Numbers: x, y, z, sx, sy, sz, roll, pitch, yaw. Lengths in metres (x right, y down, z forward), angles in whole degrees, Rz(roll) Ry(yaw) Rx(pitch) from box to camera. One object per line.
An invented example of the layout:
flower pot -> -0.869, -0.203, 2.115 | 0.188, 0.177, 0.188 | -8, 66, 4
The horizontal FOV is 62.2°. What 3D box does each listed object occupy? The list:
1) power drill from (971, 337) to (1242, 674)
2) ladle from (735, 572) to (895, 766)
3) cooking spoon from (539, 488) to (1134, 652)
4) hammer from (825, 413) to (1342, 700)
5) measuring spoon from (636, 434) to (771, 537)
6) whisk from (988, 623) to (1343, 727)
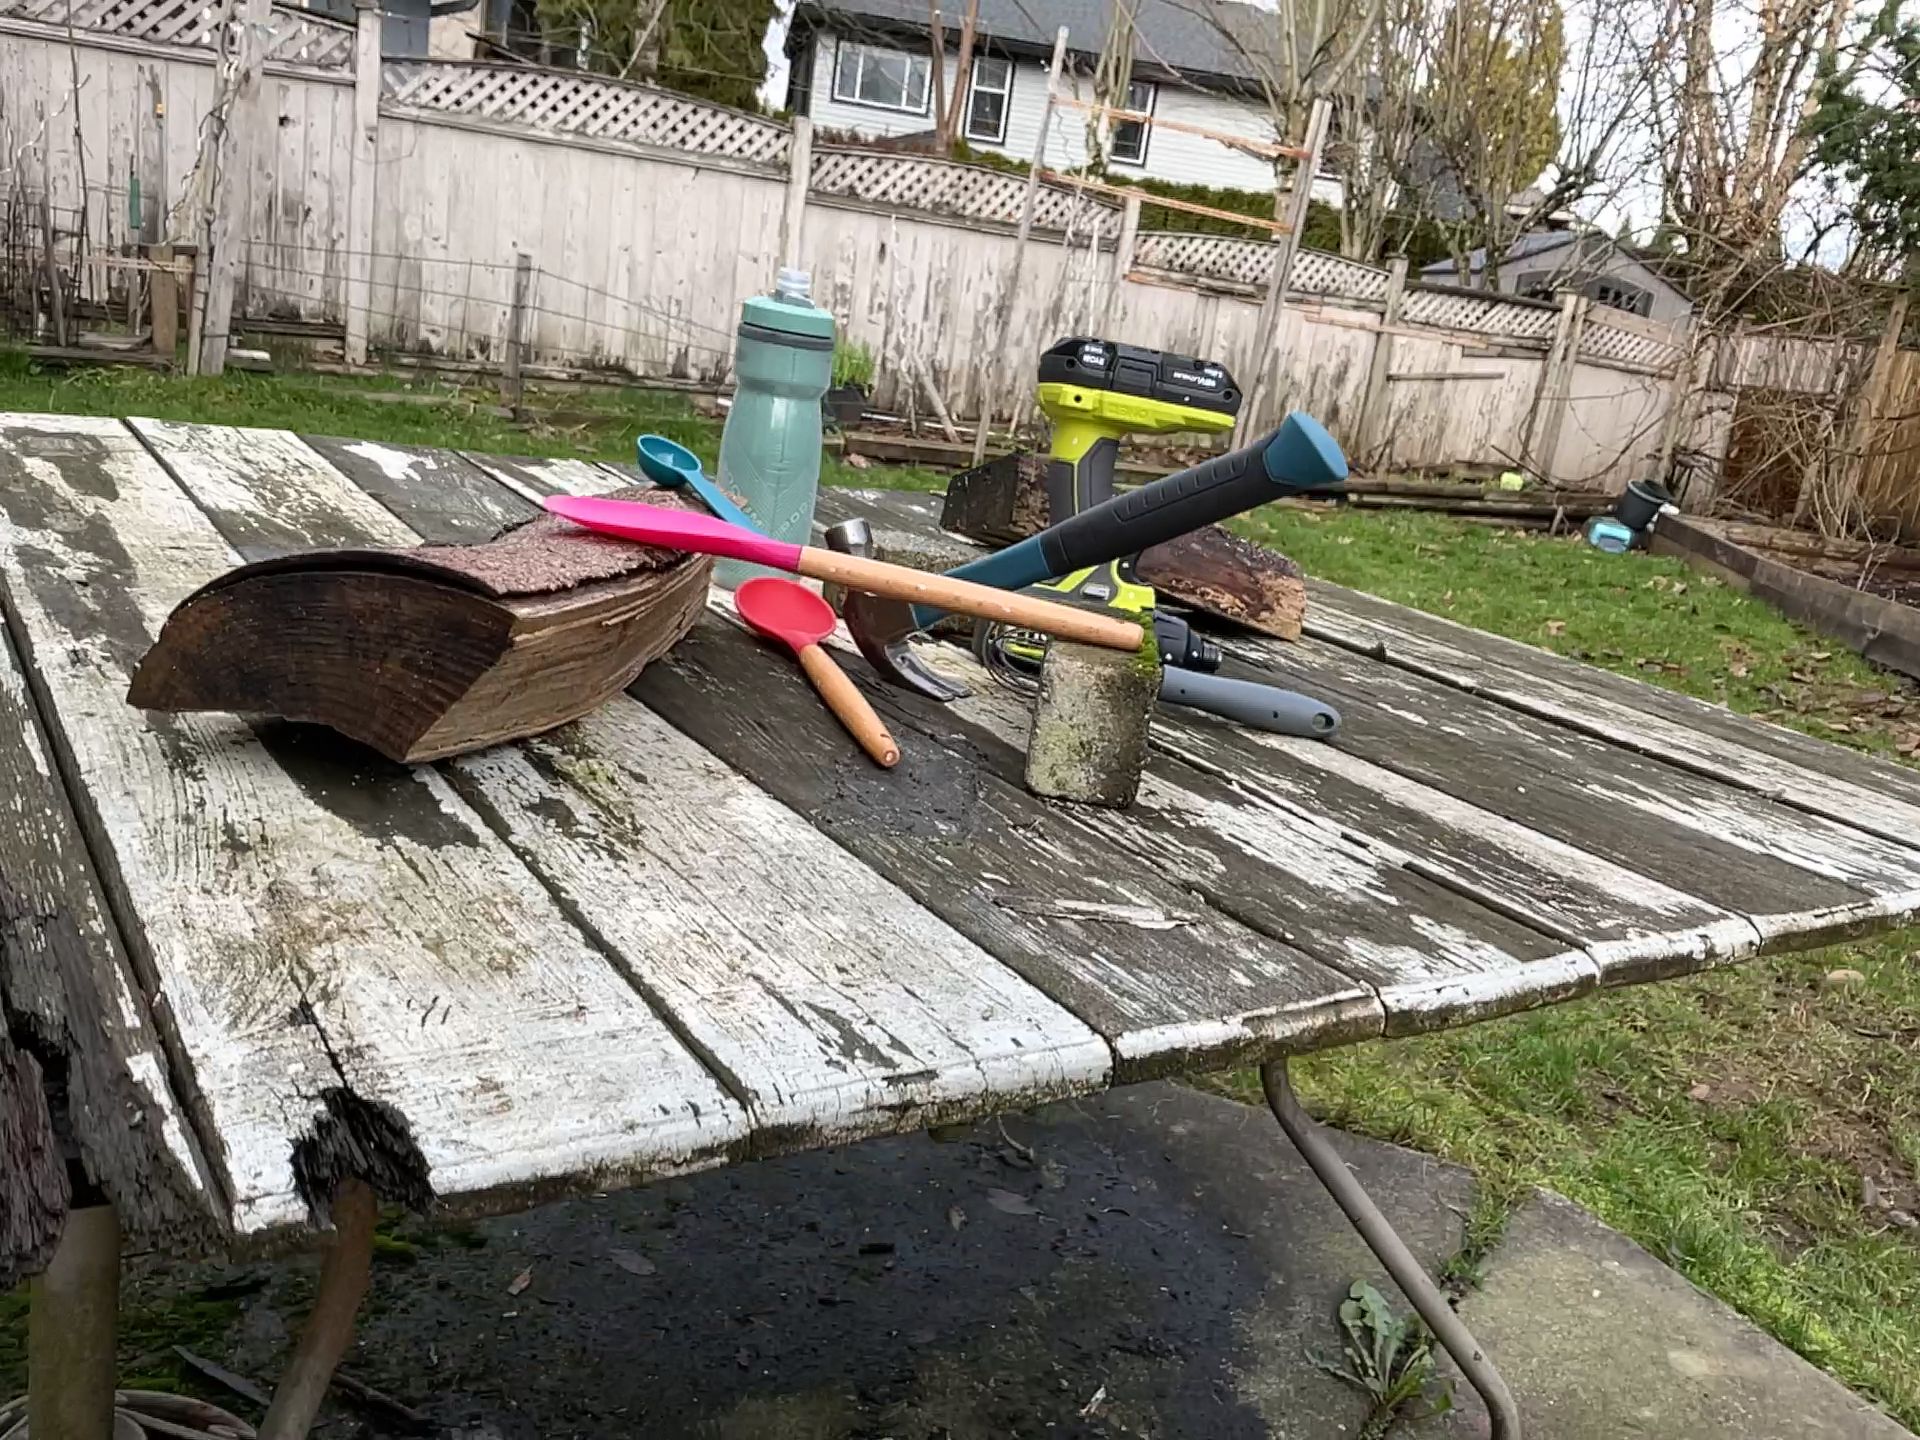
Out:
power drill -> 0.111, -0.138, 1.096 | 0.171, 0.223, 0.080 | 10, 8, -4
ladle -> -0.084, -0.034, 0.968 | 0.069, 0.031, 0.316 | 7, 18, -20
cooking spoon -> -0.063, -0.080, 0.840 | 0.318, 0.017, 0.069 | 14, 14, -3
hammer -> 0.064, -0.103, 0.934 | 0.331, 0.128, 0.033 | -18, 0, 34
measuring spoon -> -0.159, -0.136, 0.994 | 0.129, 0.021, 0.042 | 43, 29, 25
whisk -> 0.134, -0.029, 1.029 | 0.239, 0.055, 0.055 | 12, 23, -5
